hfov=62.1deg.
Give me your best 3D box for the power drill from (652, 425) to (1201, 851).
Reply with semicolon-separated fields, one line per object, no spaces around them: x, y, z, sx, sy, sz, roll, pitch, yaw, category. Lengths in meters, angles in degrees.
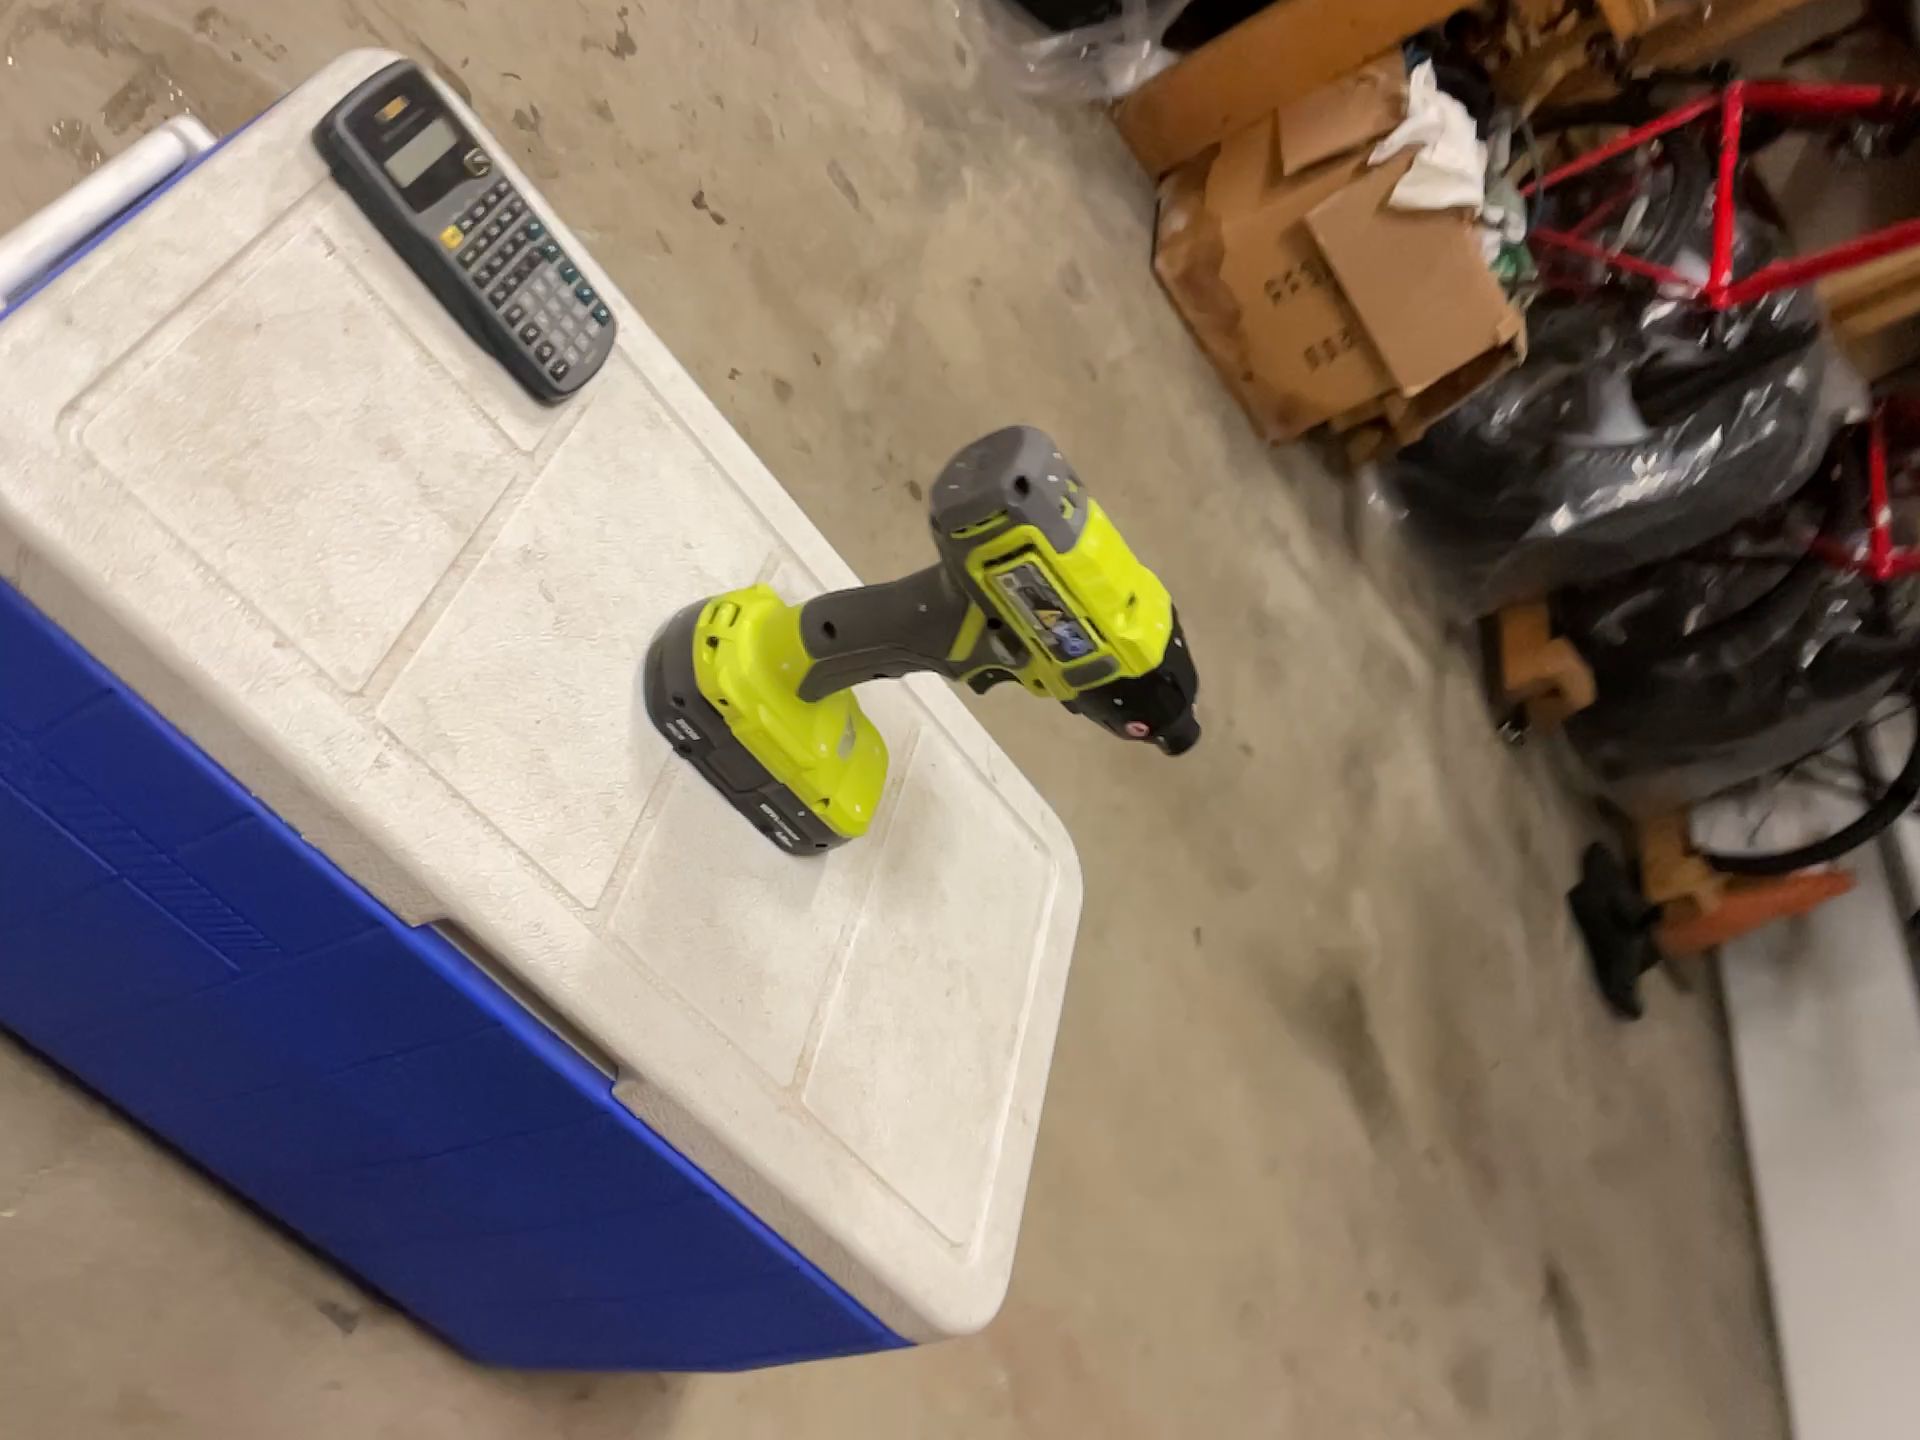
-0.013;-0.021;0.724;0.171;0.223;0.080;50;37;-31;power drill
